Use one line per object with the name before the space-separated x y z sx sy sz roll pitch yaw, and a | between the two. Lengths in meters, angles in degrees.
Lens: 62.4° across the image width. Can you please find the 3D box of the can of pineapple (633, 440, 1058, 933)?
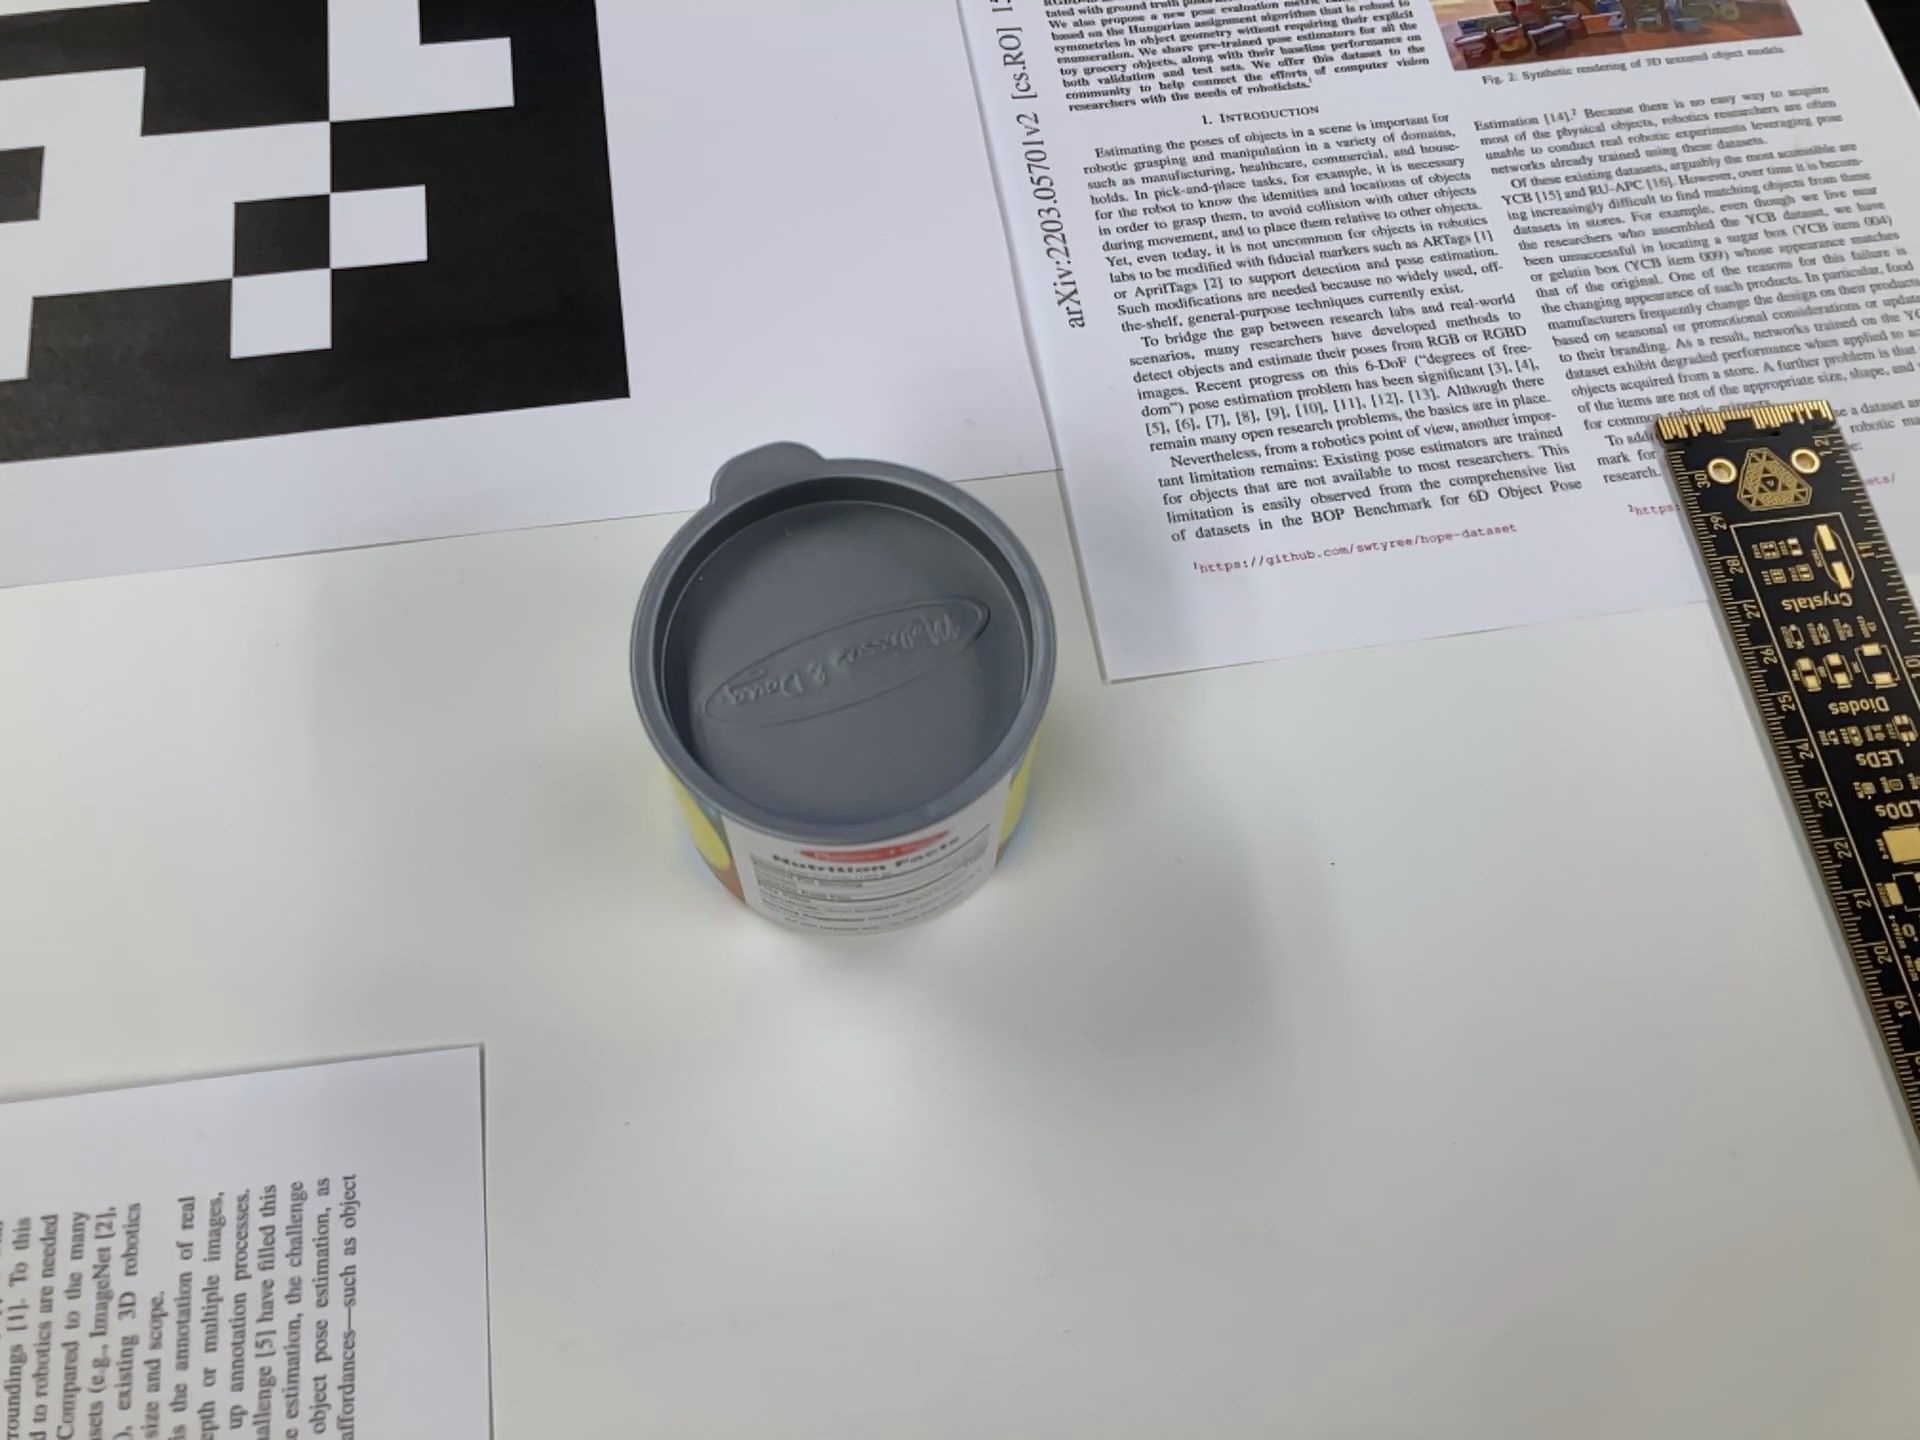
can of pineapple | -0.019 -0.004 0.273 0.071 0.058 0.071 1 67 -3
